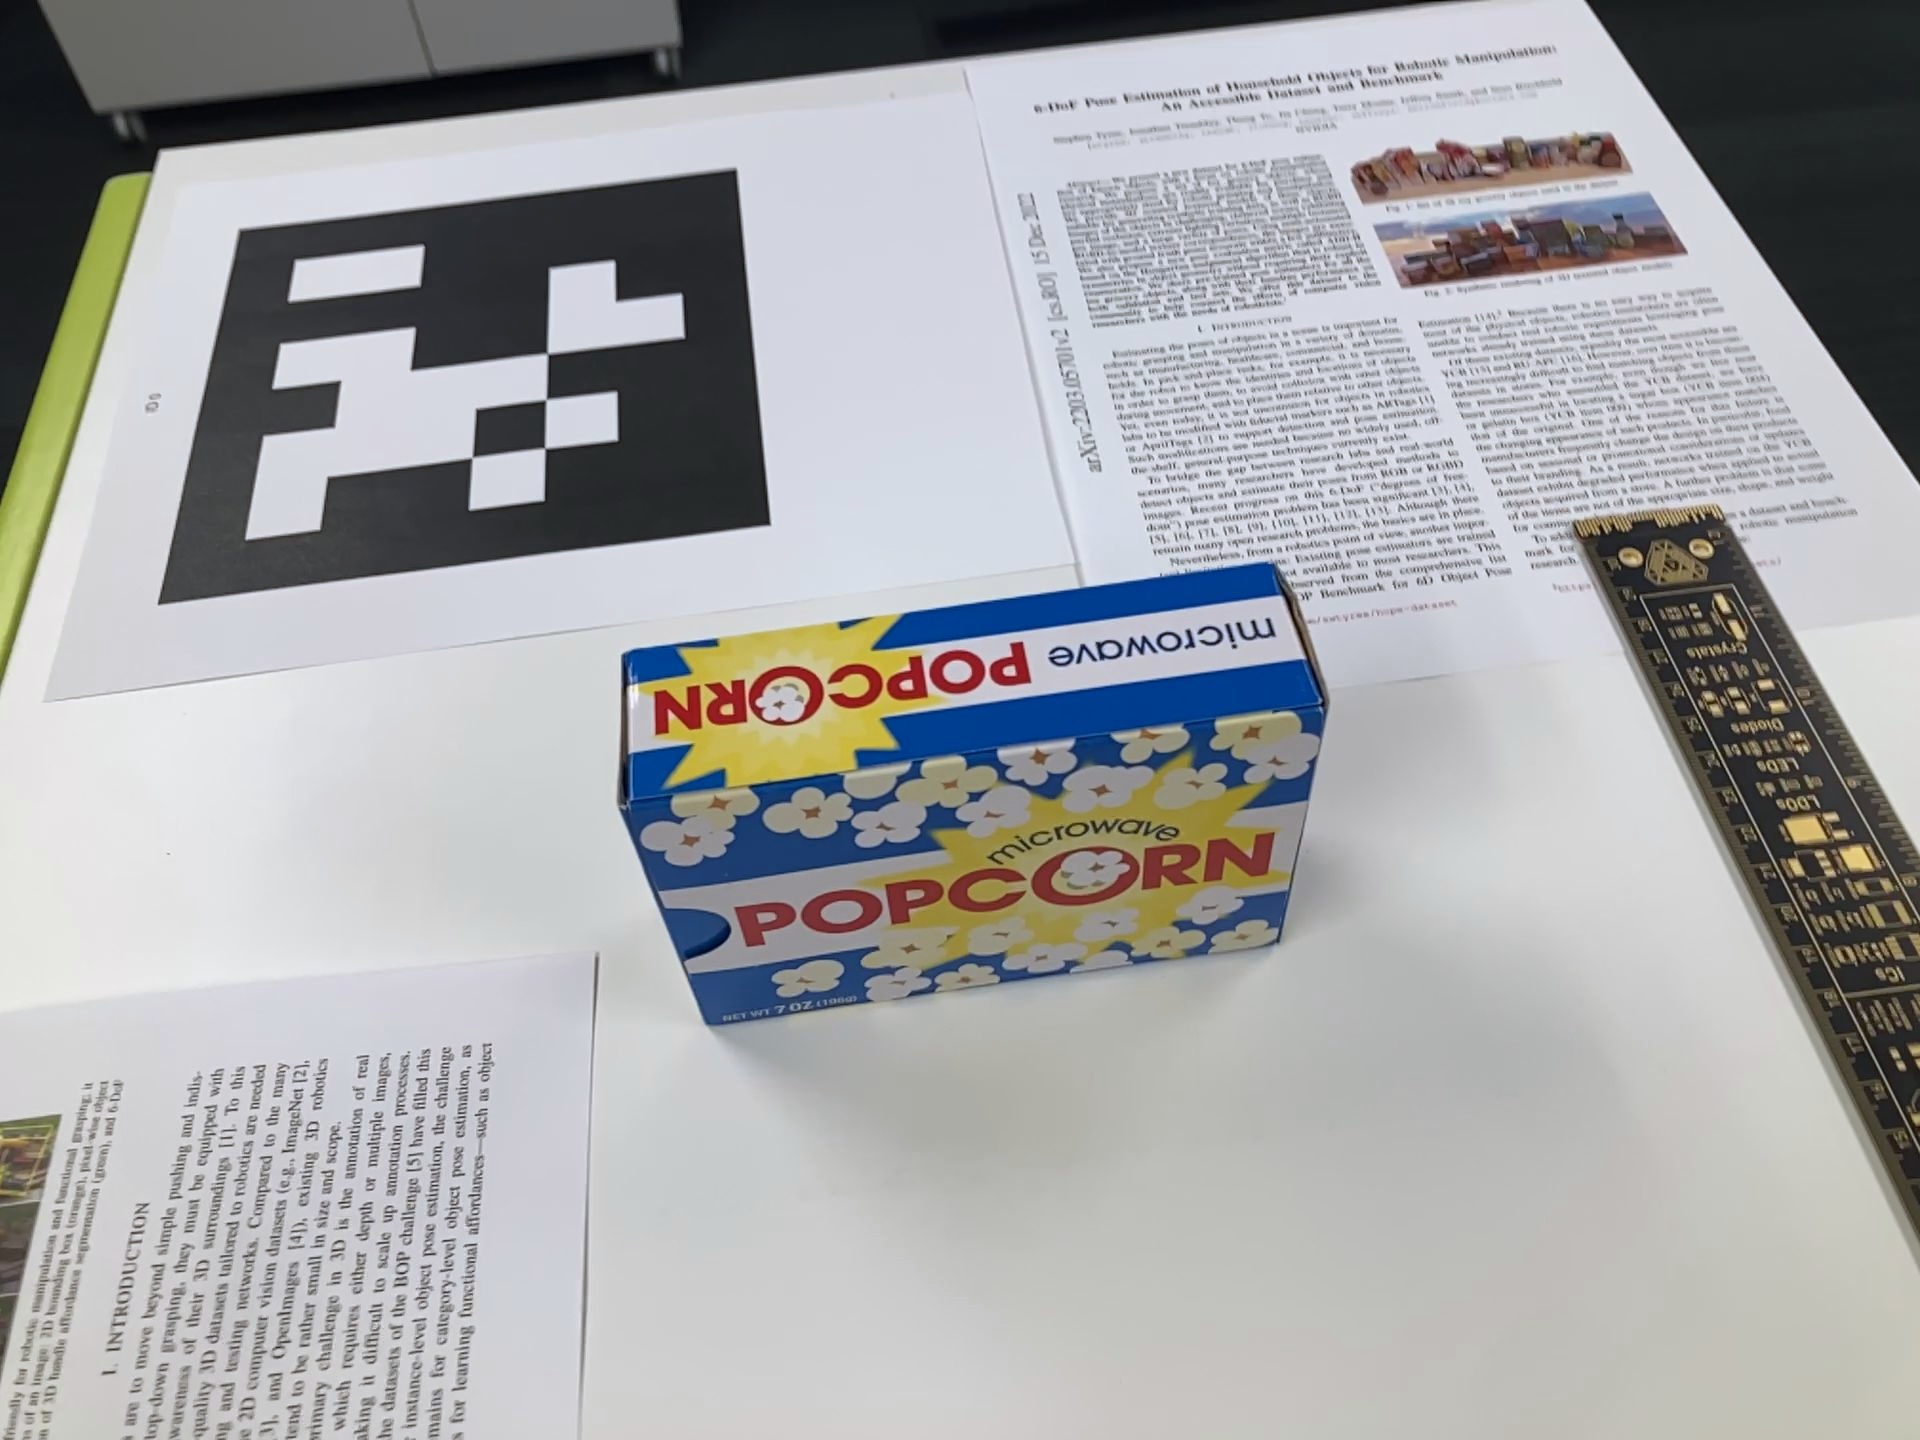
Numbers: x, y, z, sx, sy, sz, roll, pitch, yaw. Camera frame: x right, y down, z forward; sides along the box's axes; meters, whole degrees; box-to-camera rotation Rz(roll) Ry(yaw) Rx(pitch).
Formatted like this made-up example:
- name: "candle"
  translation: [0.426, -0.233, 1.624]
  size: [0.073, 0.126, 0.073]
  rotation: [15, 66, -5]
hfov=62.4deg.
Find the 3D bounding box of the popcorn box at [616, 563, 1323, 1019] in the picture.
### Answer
- name: "popcorn box"
  translation: [0.003, 0.017, 0.319]
  size: [0.126, 0.085, 0.038]
  rotation: [-8, 53, -2]
